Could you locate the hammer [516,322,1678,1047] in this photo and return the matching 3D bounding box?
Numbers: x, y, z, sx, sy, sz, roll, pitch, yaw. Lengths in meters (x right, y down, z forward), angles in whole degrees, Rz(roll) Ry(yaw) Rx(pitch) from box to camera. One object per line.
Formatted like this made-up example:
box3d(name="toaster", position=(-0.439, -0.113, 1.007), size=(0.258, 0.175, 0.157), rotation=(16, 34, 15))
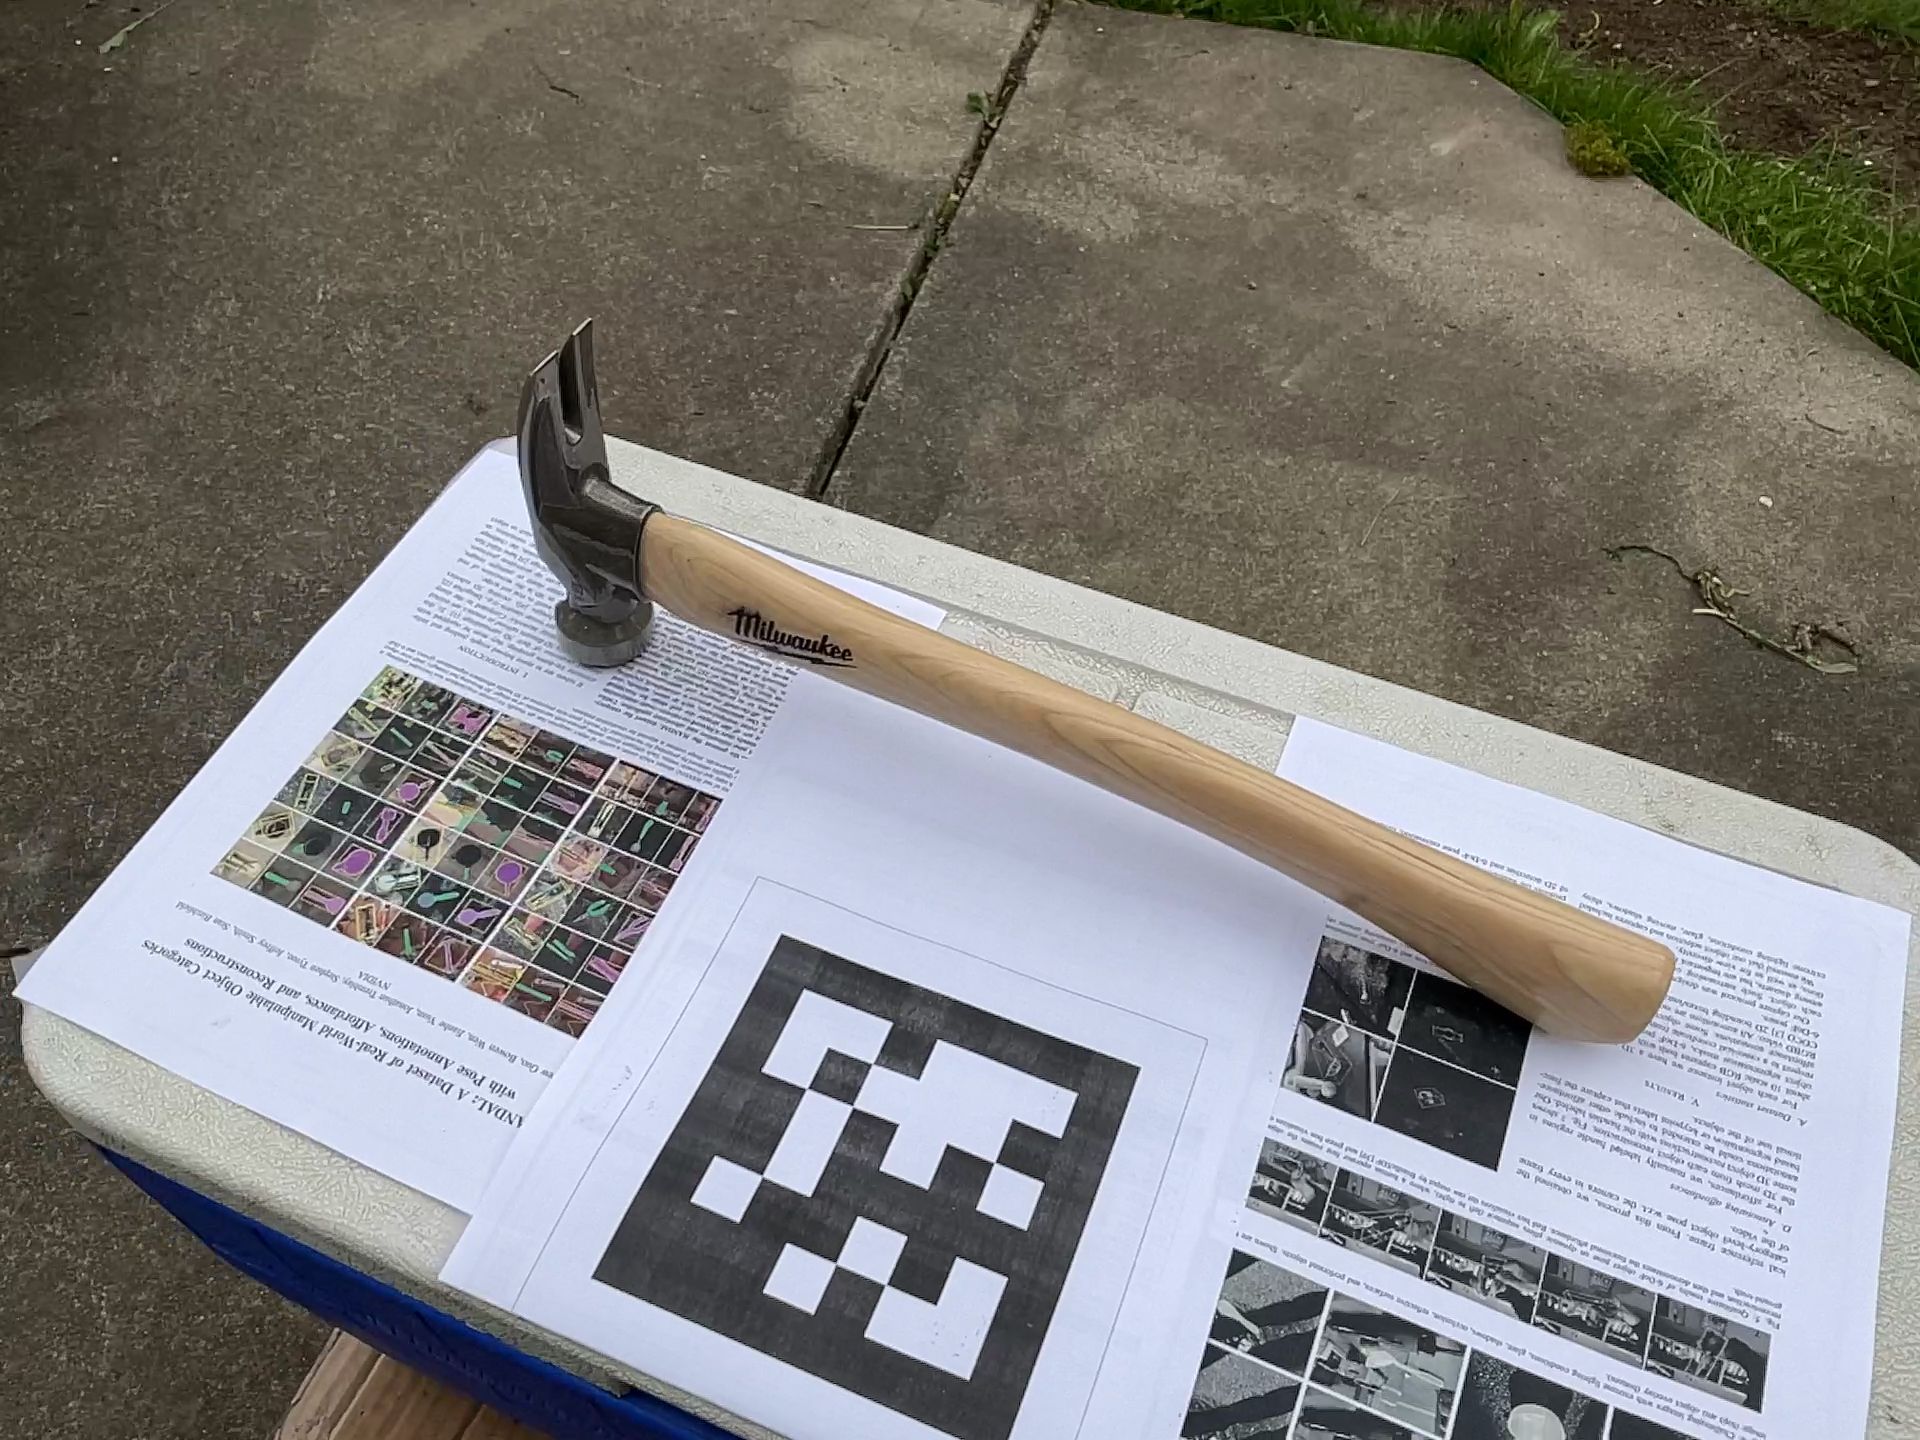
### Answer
box3d(name="hammer", position=(0.035, -0.002, 0.531), size=(0.411, 0.146, 0.038), rotation=(24, 56, 11))
